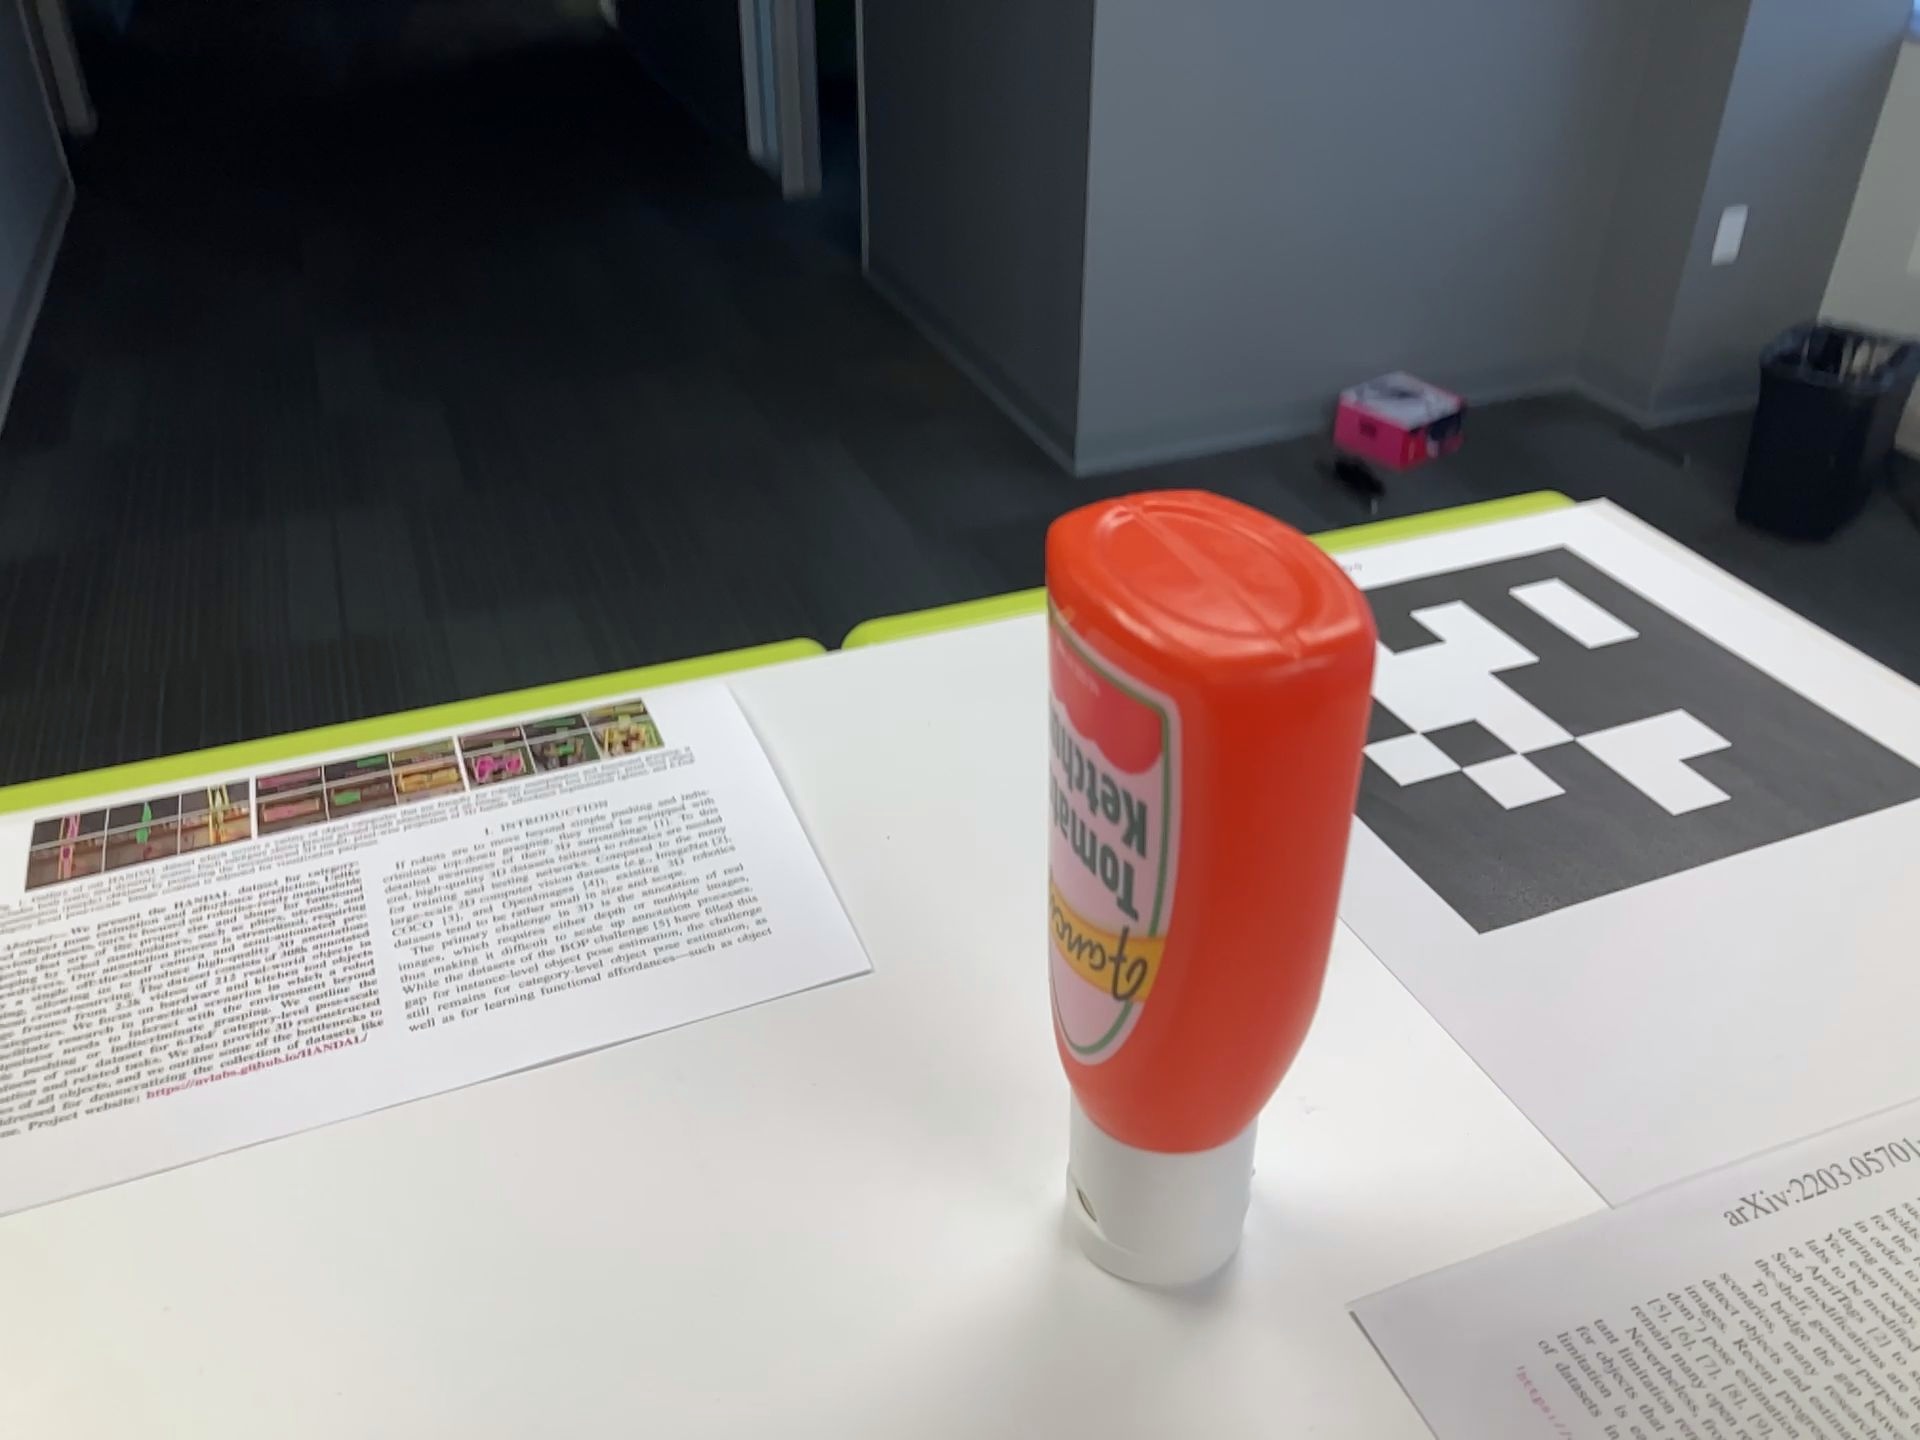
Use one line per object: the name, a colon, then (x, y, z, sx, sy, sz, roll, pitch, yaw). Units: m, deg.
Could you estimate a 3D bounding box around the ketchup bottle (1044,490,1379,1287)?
ketchup bottle: (0.039, 0.038, 0.282, 0.043, 0.149, 0.065, -12, 34, -17)
